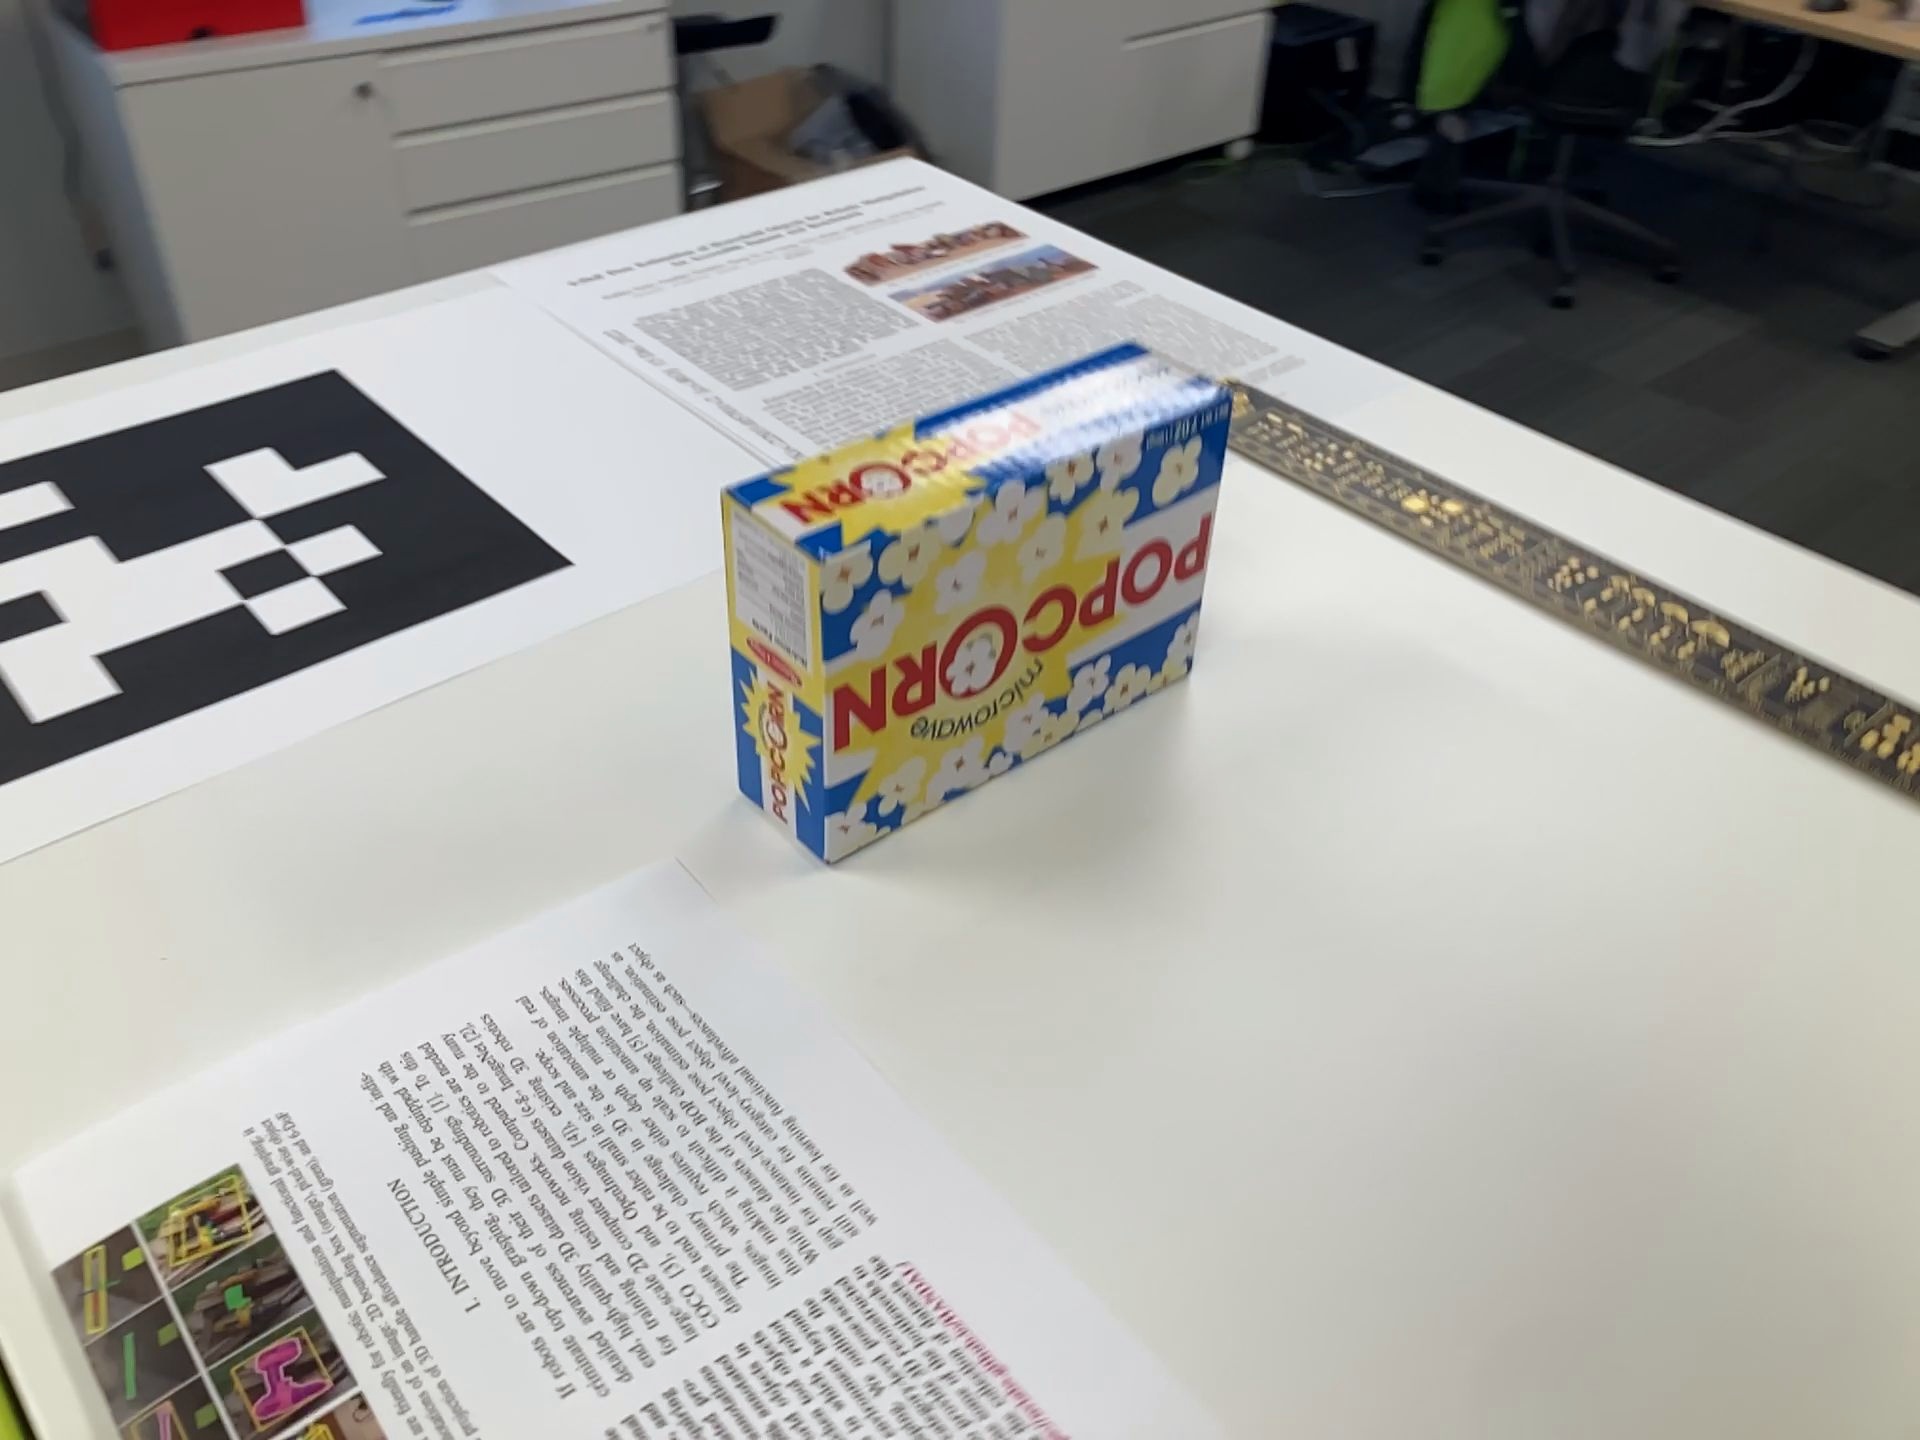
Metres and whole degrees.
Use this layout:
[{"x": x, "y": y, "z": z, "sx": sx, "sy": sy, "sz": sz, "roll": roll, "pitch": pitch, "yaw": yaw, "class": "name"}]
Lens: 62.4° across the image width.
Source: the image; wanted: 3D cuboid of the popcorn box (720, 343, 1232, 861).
[{"x": 0.006, "y": -0.031, "z": 0.384, "sx": 0.126, "sy": 0.085, "sz": 0.038, "roll": -26, "pitch": 47, "yaw": -32, "class": "popcorn box"}]
